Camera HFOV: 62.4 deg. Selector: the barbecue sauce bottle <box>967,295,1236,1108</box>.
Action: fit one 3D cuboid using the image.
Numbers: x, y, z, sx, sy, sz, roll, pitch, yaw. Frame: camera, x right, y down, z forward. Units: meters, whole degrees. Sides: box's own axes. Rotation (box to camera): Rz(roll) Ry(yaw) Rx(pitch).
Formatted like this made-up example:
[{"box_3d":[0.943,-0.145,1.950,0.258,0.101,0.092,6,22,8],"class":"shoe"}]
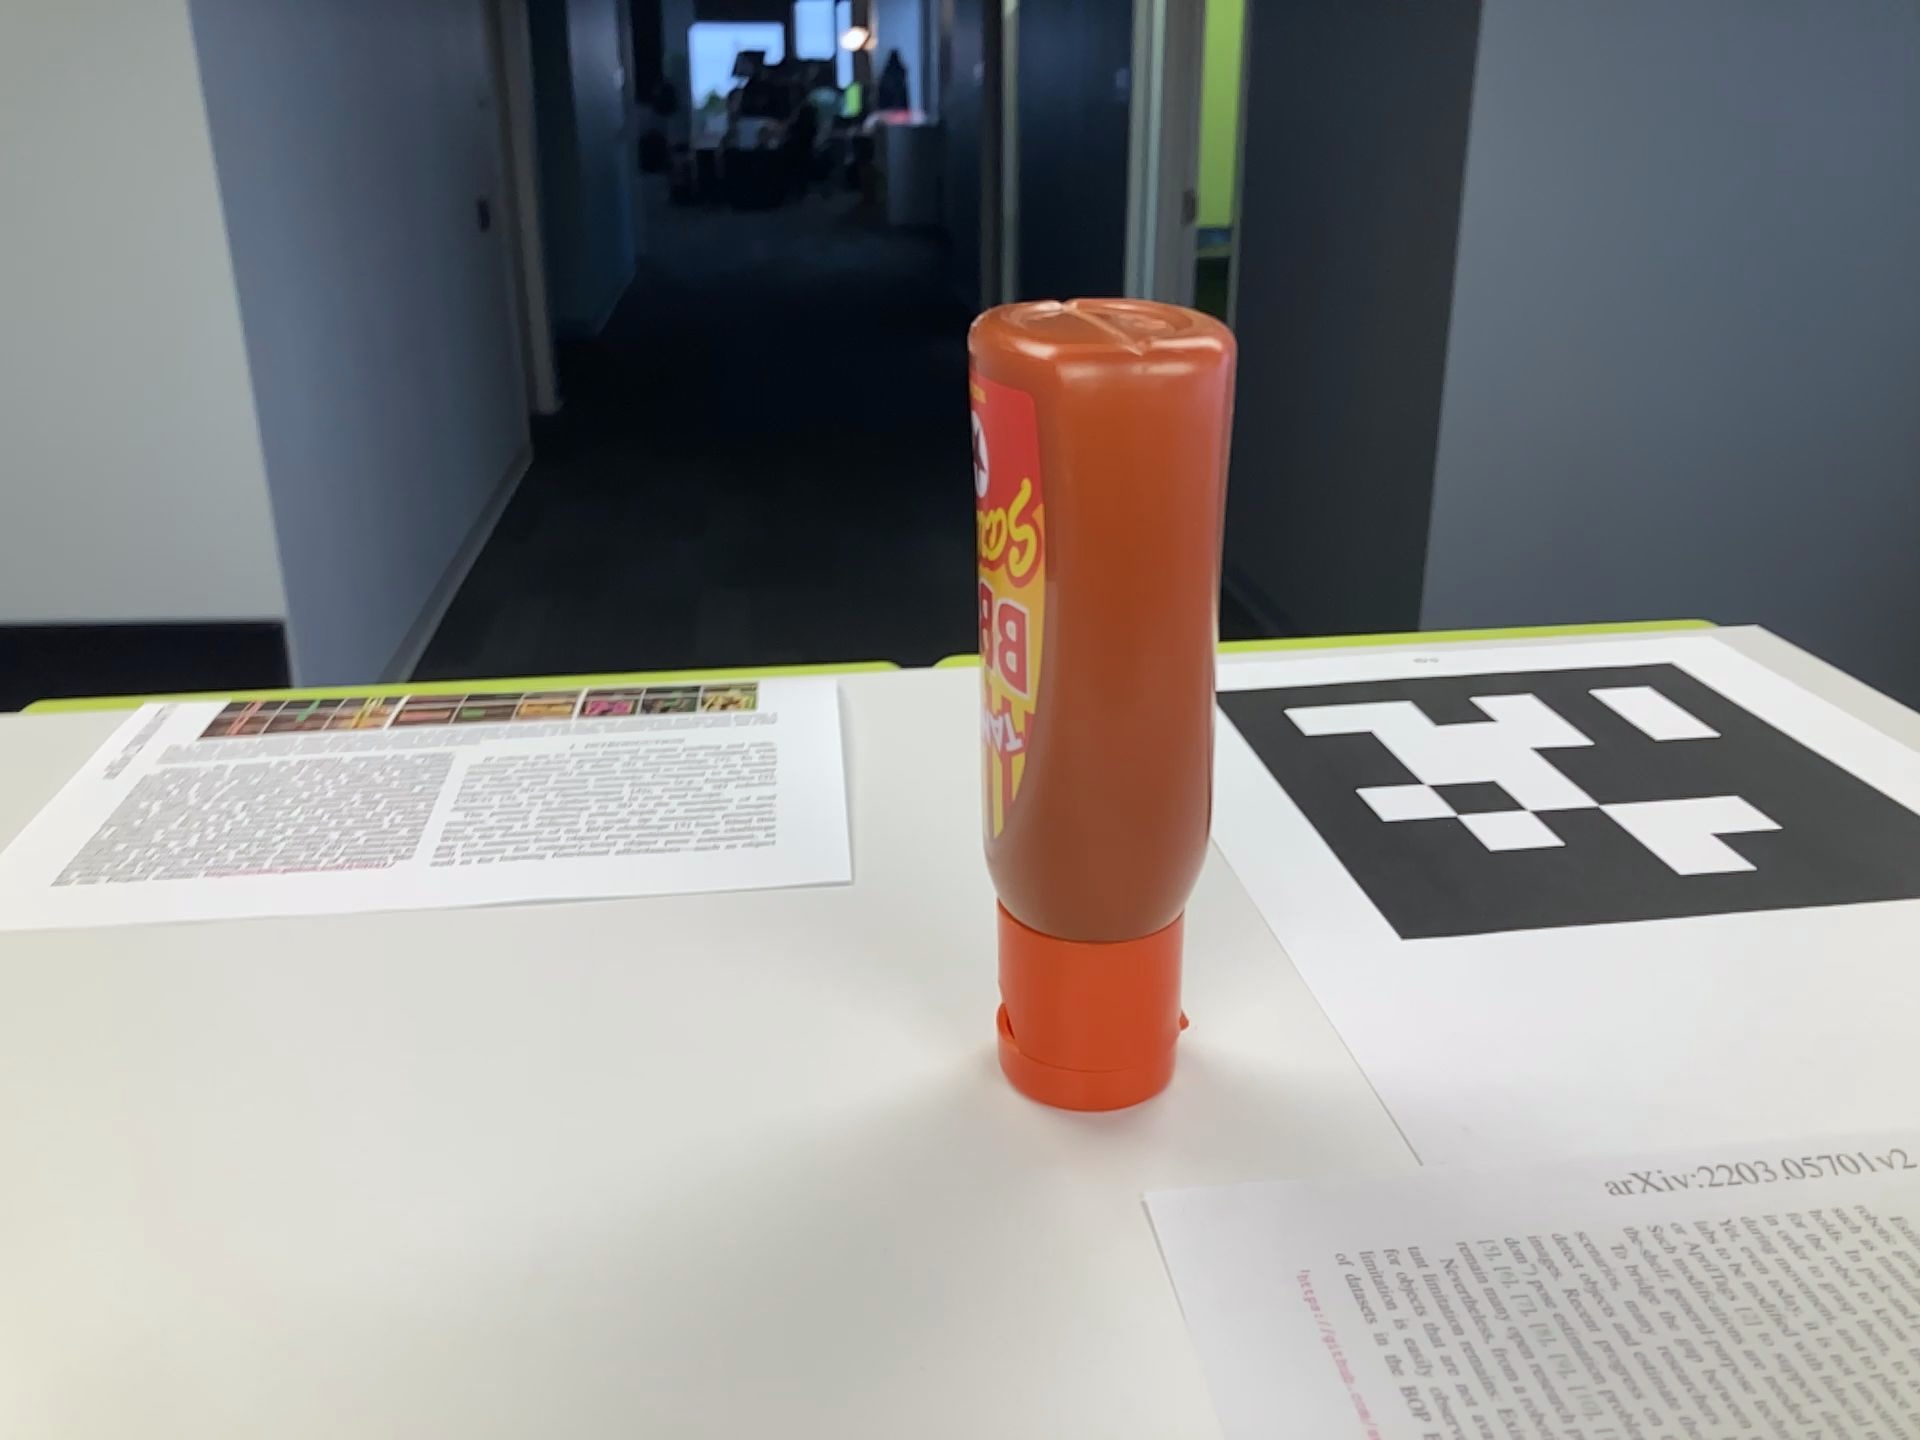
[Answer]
[{"box_3d":[0.025,0.000,0.295,0.043,0.148,0.065,-4,21,-7],"class":"barbecue sauce bottle"}]
